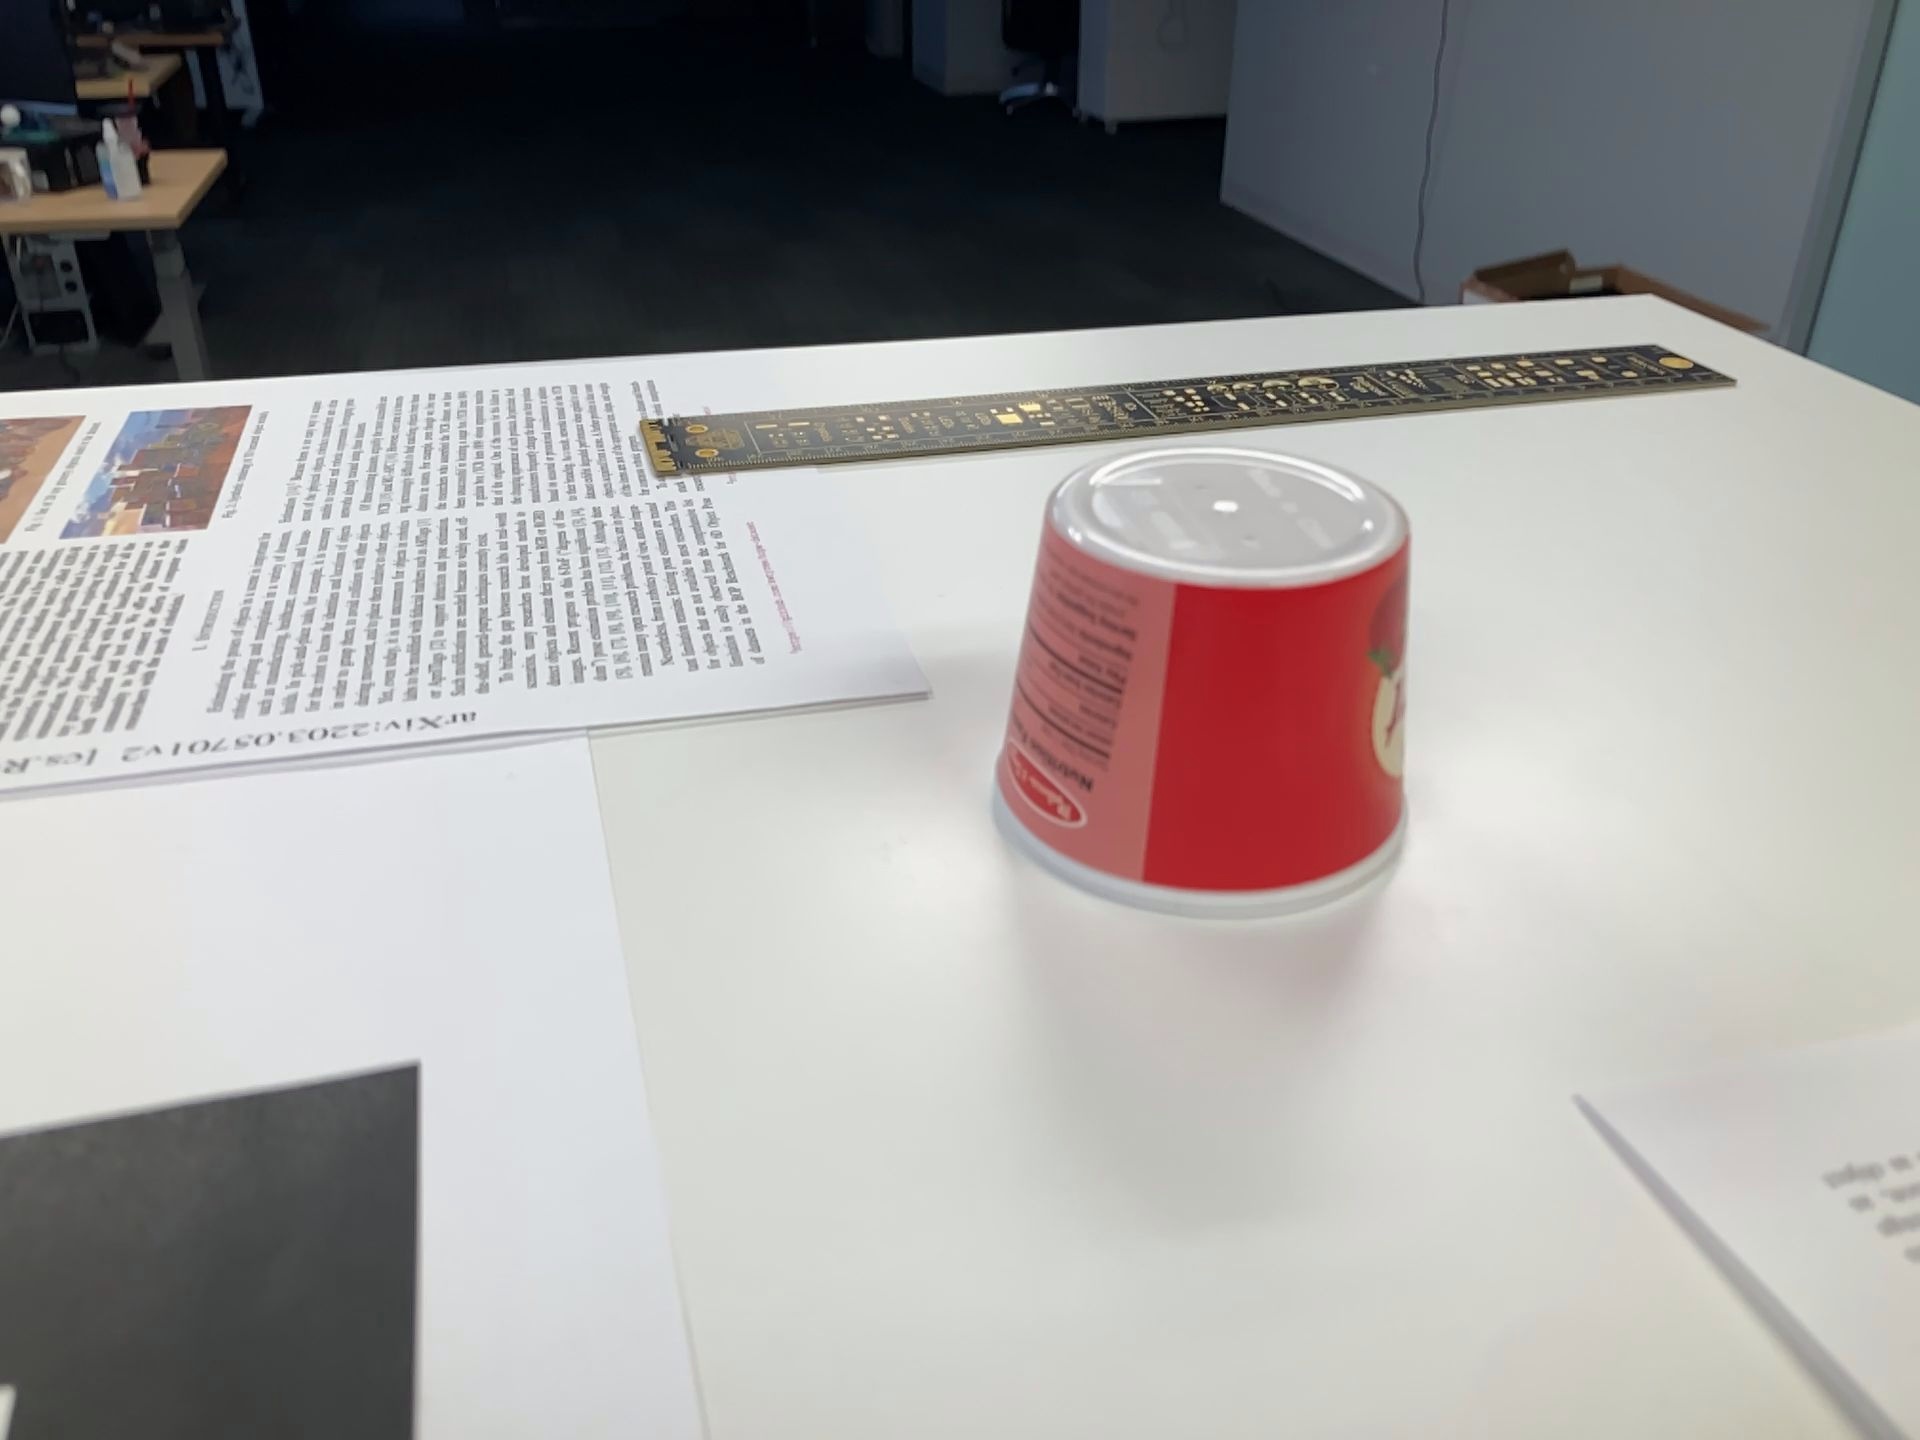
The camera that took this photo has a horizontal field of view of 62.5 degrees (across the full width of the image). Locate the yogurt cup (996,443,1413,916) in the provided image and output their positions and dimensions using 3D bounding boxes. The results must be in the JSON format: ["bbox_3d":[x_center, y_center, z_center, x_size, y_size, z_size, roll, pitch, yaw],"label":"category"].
[{"bbox_3d":[0.040,-0.010,0.254,0.072,0.054,0.072,1,31,0],"label":"yogurt cup"}]
